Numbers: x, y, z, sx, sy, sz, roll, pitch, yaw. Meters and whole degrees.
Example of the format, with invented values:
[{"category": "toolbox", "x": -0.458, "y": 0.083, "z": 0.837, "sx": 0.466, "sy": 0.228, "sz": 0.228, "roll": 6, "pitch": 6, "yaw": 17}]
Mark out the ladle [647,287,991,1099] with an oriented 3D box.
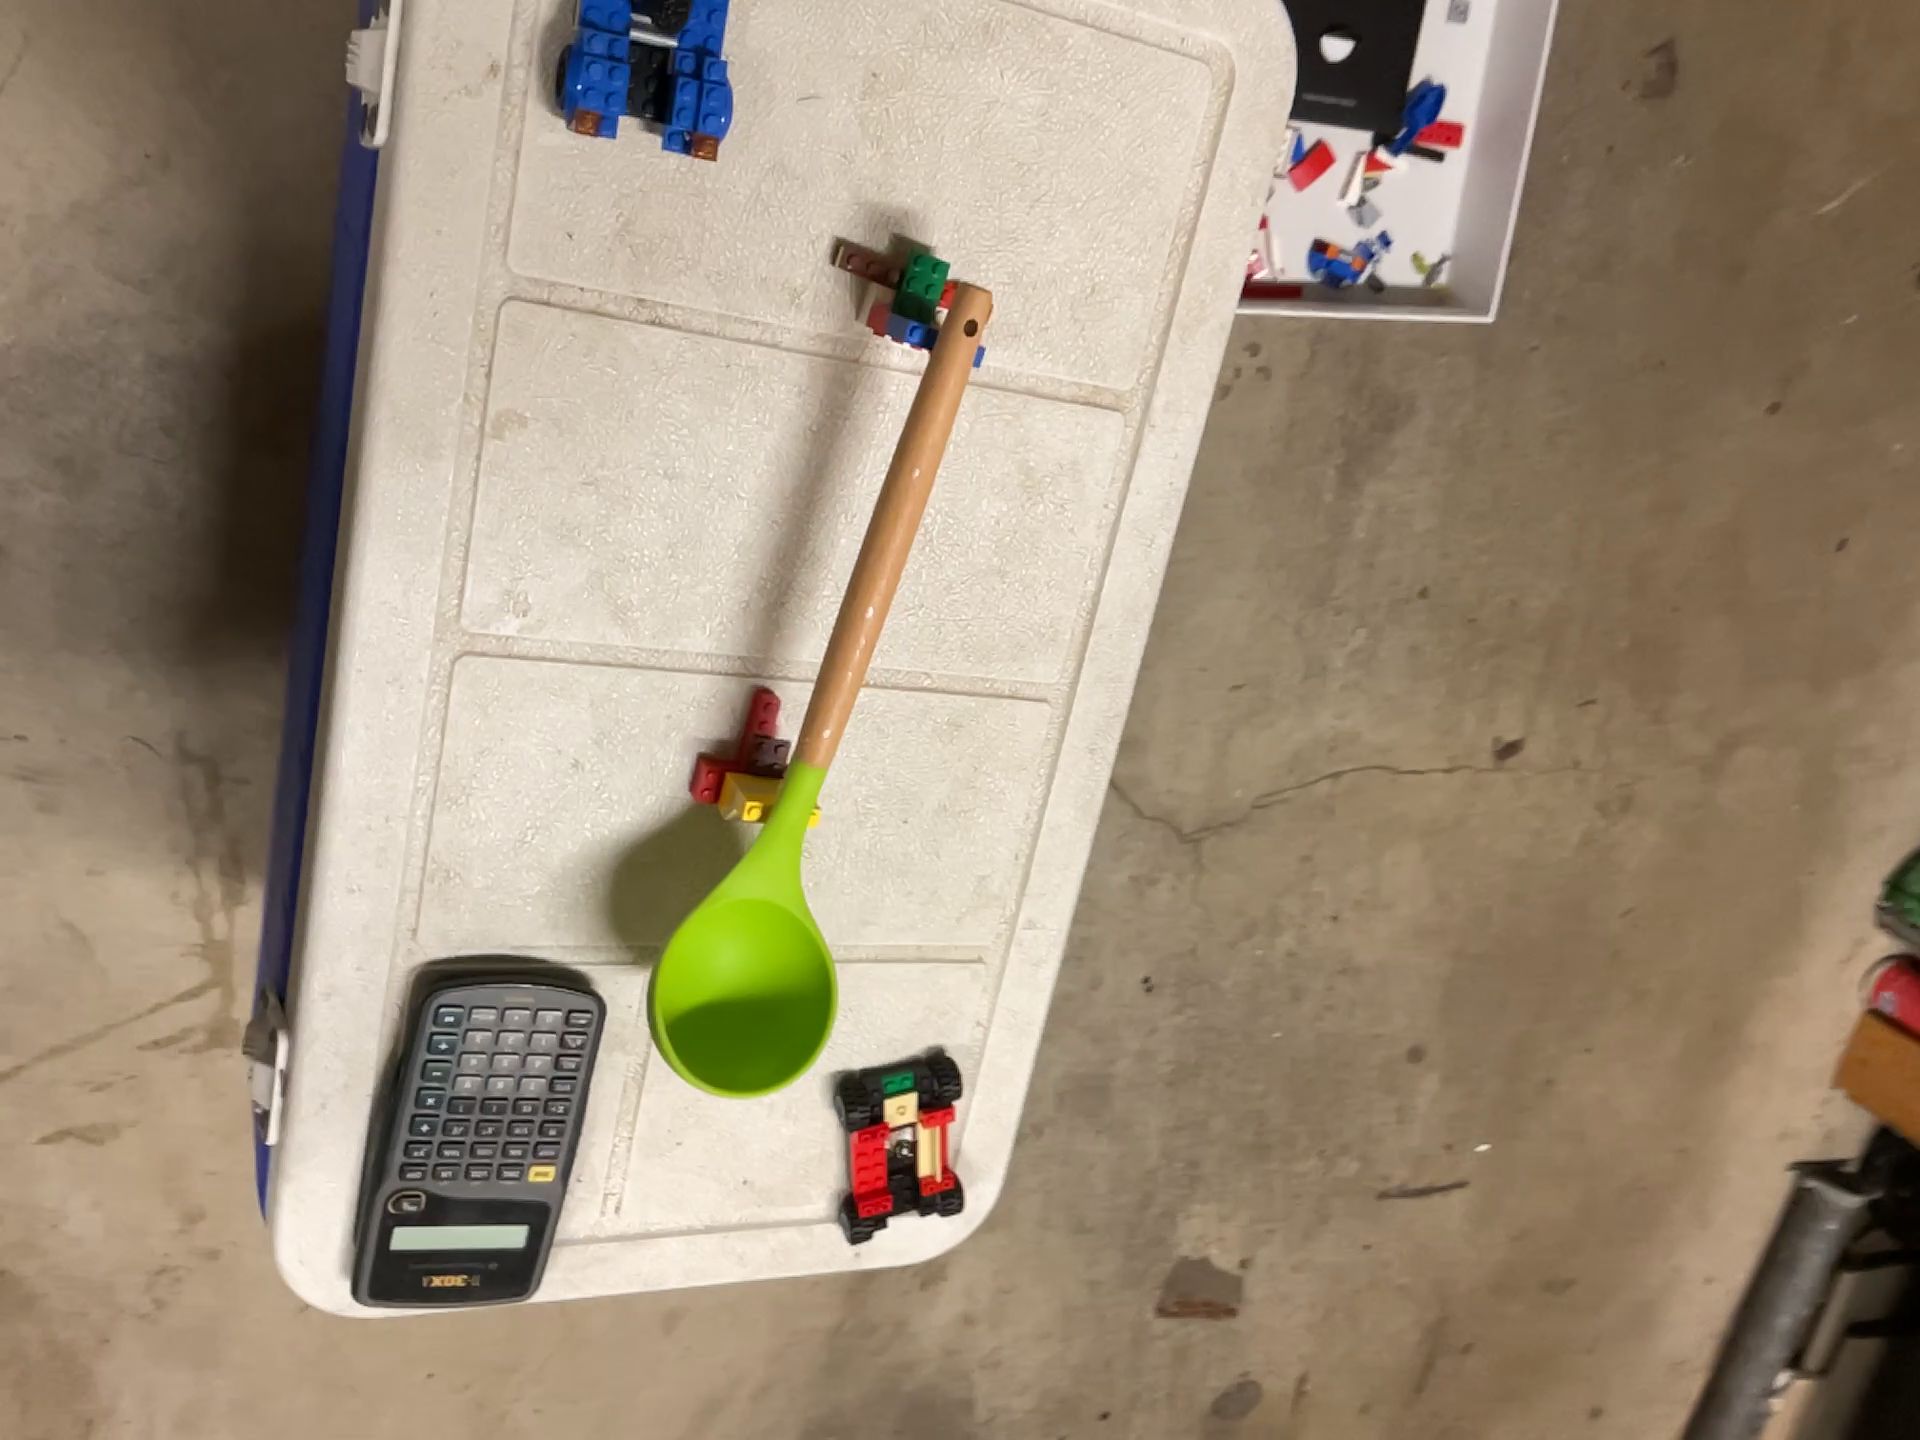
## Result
[{"category": "ladle", "x": -0.044, "y": -0.003, "z": 0.597, "sx": 0.078, "sy": 0.062, "sz": 0.320, "roll": 12, "pitch": 107, "yaw": -29}]
